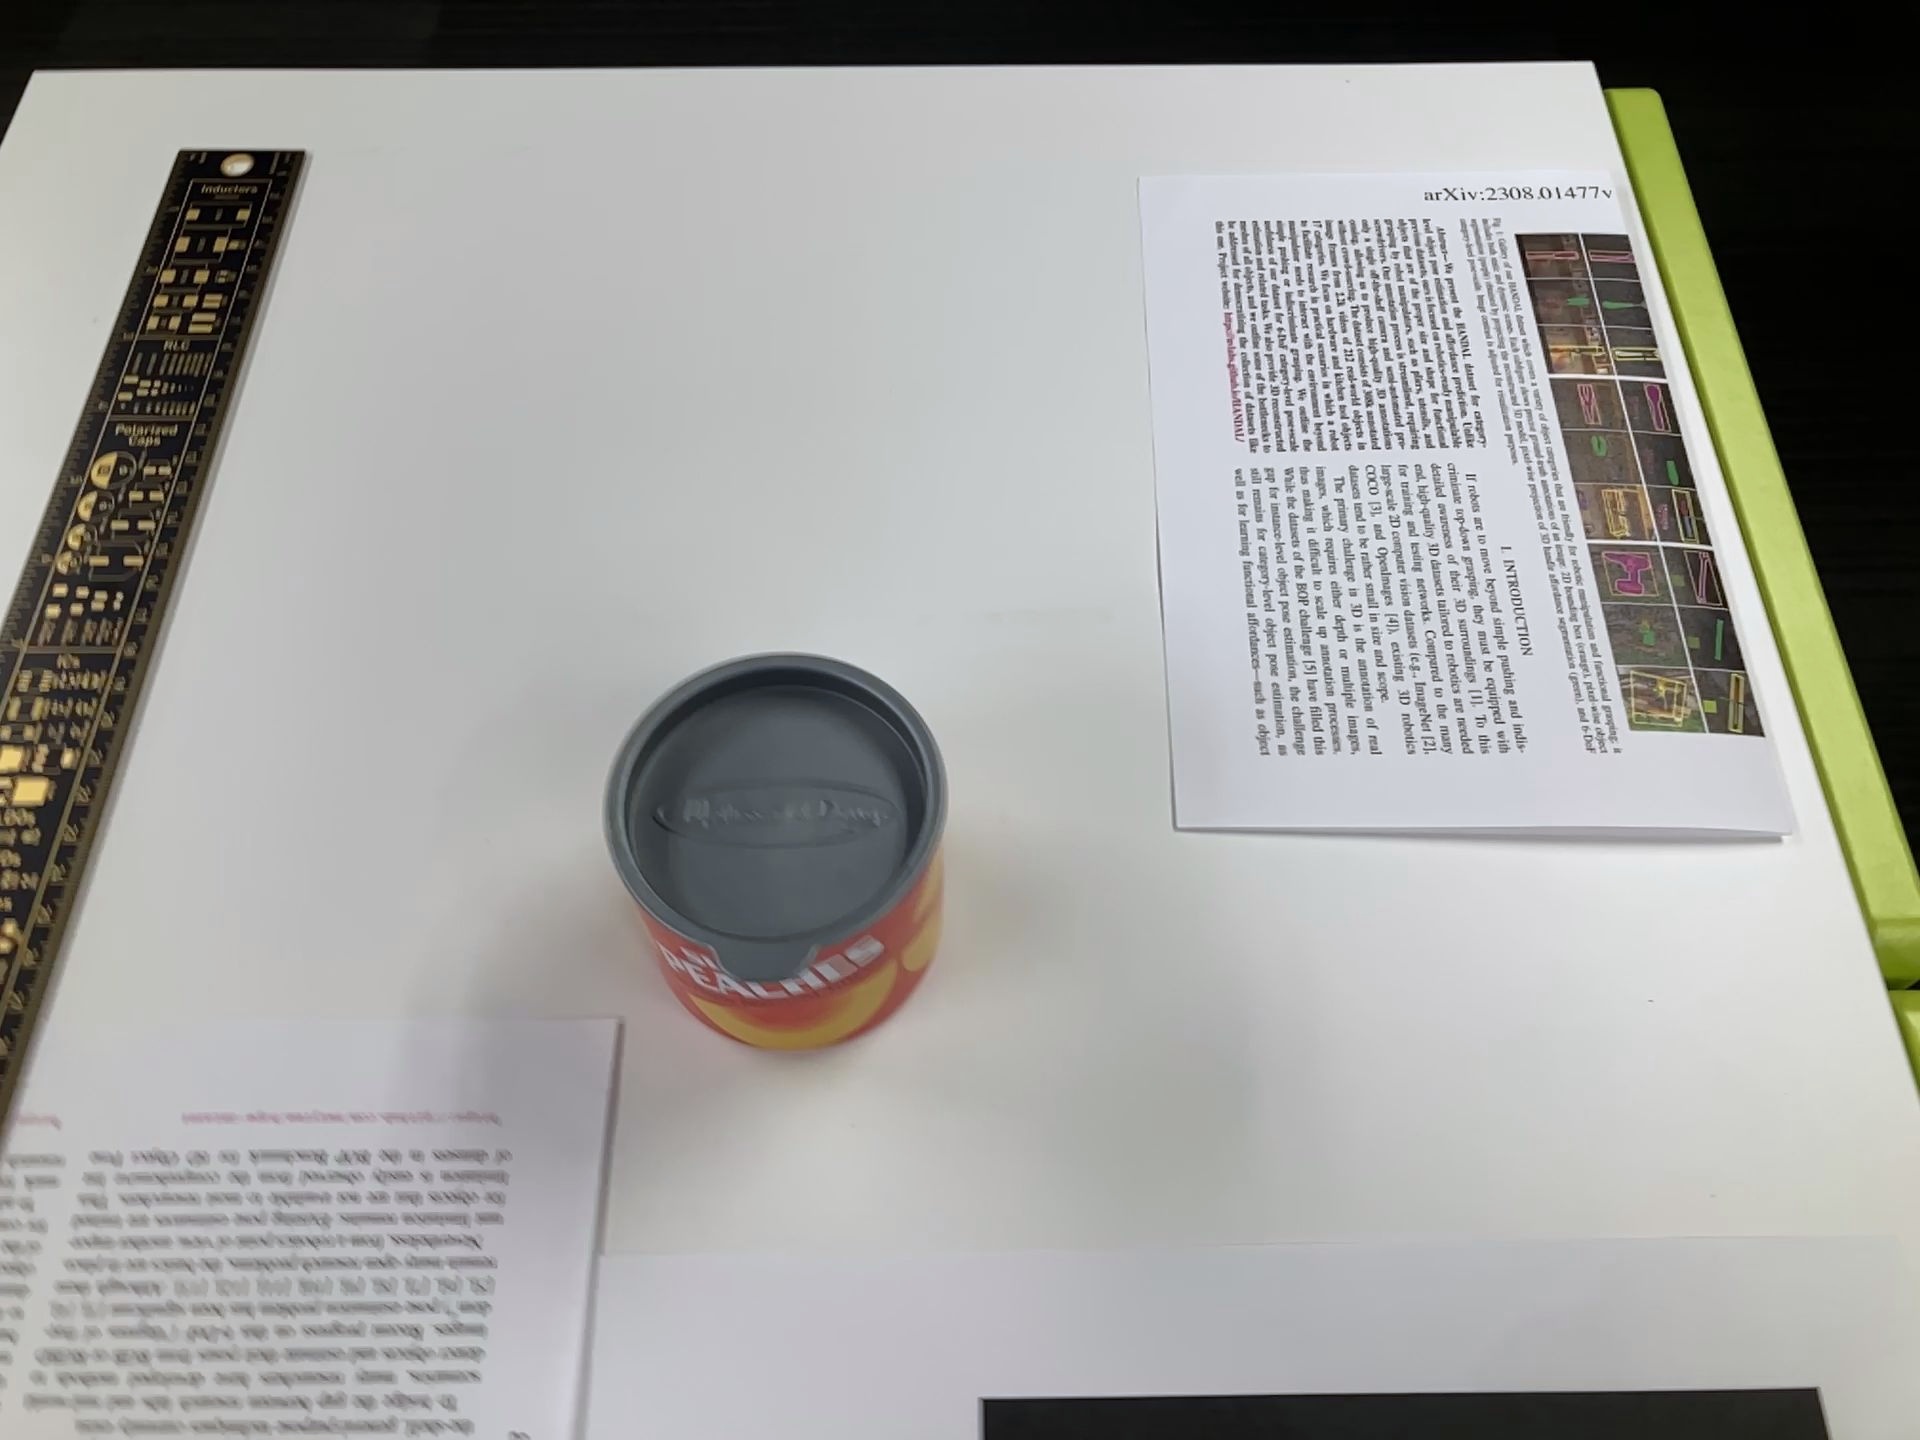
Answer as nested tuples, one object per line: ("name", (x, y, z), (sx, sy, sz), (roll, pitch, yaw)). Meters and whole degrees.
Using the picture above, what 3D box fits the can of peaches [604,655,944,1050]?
("can of peaches", (-0.037, 0.031, 0.333), (0.071, 0.058, 0.071), (0, 60, 0))
